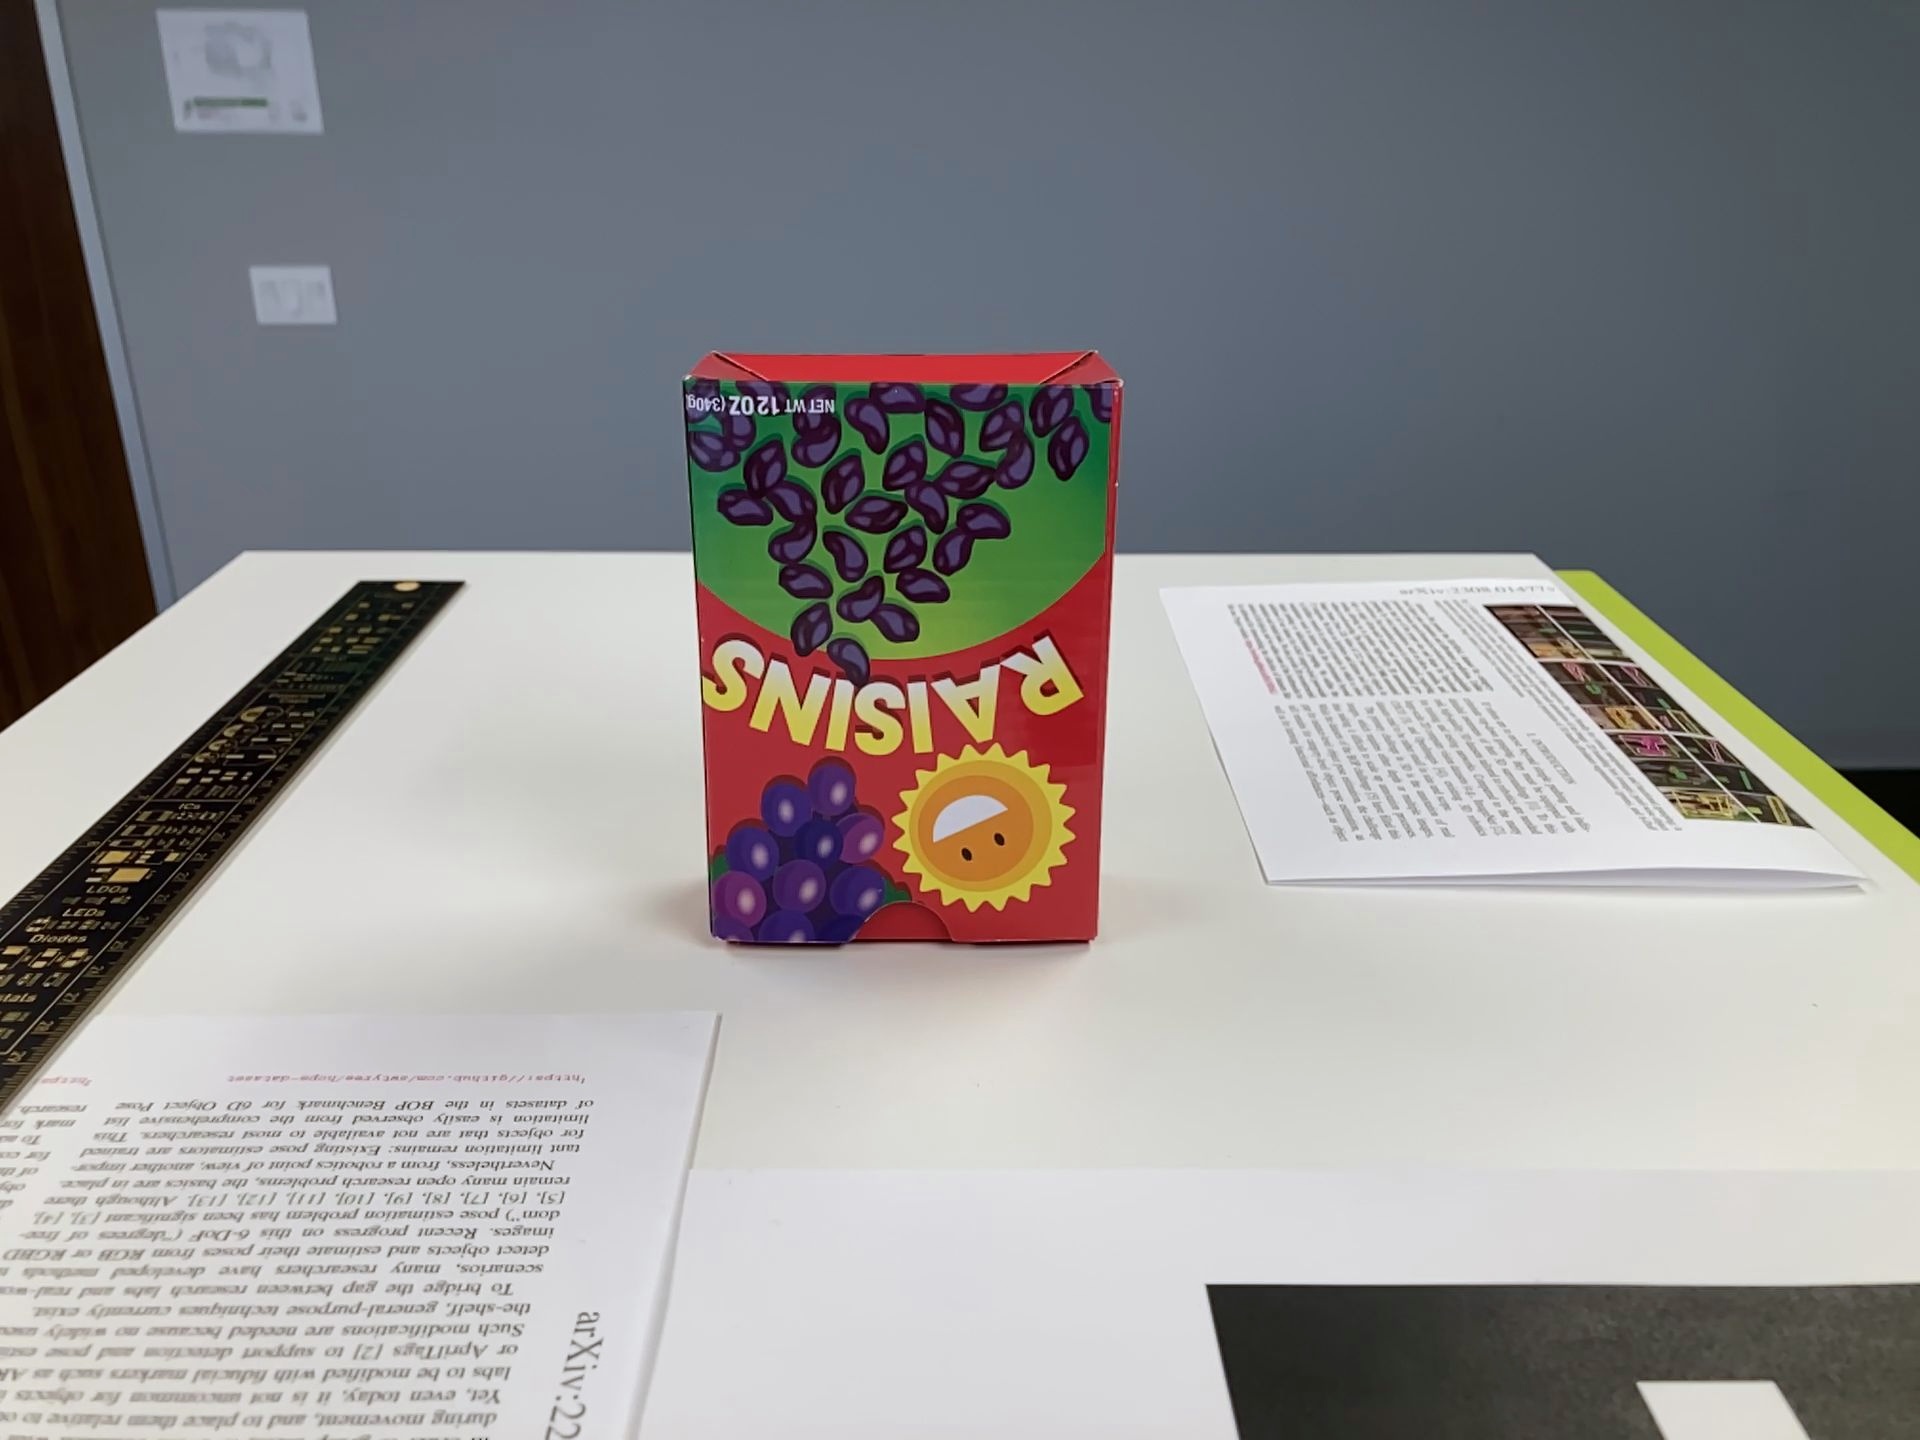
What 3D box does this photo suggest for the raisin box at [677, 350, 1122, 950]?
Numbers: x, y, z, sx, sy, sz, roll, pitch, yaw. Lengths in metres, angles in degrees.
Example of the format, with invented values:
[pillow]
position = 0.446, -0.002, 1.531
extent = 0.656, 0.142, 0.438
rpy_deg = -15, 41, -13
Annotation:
[raisin box]
position = -0.011, -0.014, 0.336
extent = 0.086, 0.123, 0.040
rpy_deg = 0, 21, -2
